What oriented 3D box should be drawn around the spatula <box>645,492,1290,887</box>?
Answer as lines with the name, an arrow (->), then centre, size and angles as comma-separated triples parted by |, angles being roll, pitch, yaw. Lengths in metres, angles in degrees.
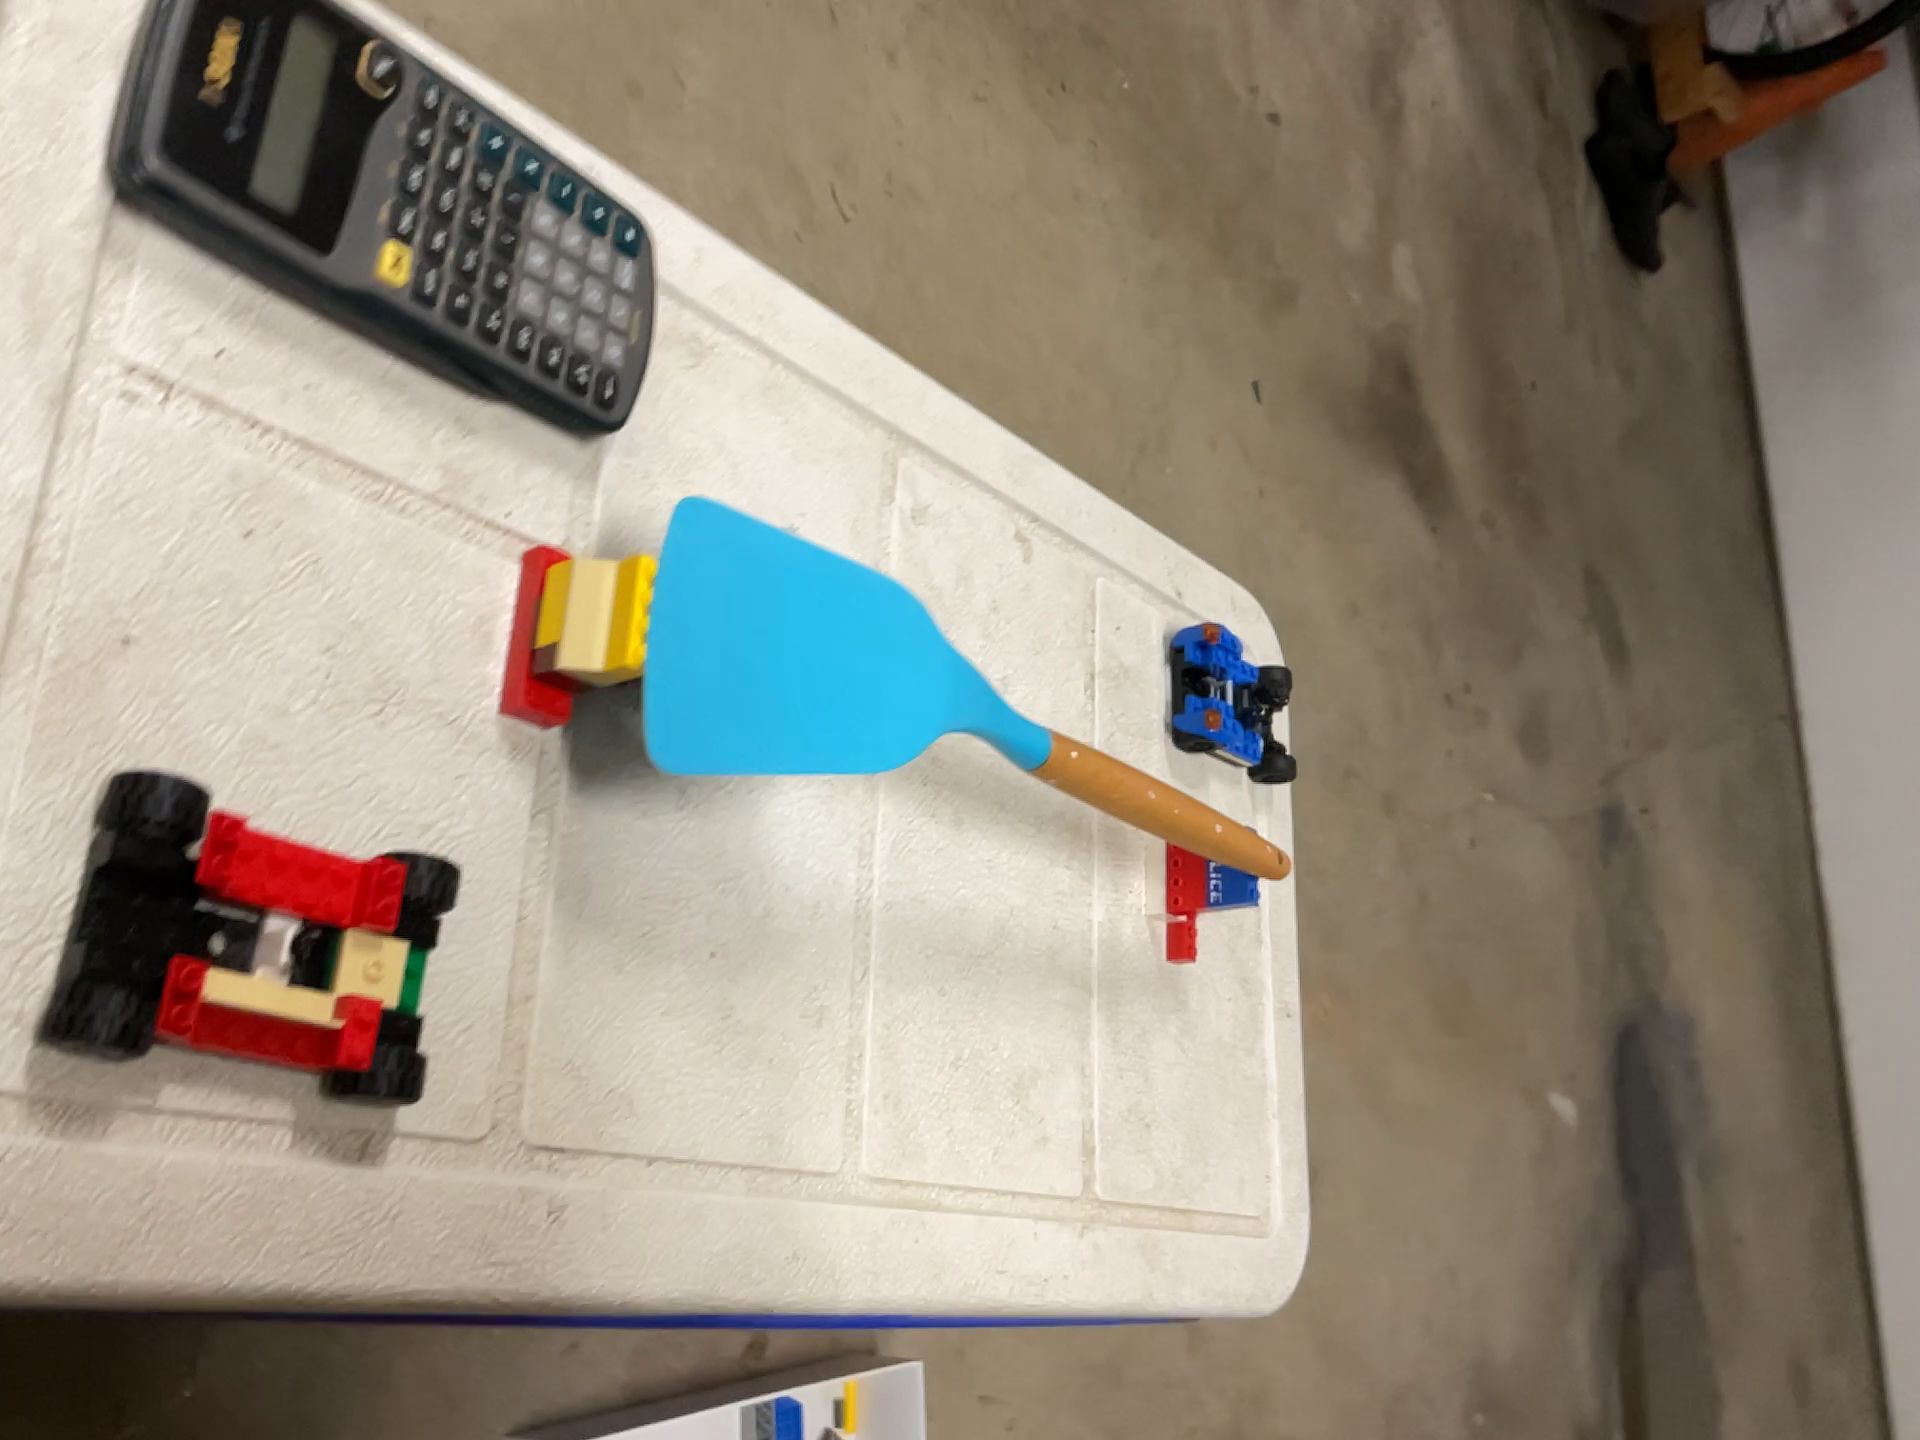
spatula -> 0.028, 0.017, 0.527 | 0.318, 0.044, 0.082 | 26, 59, -50
